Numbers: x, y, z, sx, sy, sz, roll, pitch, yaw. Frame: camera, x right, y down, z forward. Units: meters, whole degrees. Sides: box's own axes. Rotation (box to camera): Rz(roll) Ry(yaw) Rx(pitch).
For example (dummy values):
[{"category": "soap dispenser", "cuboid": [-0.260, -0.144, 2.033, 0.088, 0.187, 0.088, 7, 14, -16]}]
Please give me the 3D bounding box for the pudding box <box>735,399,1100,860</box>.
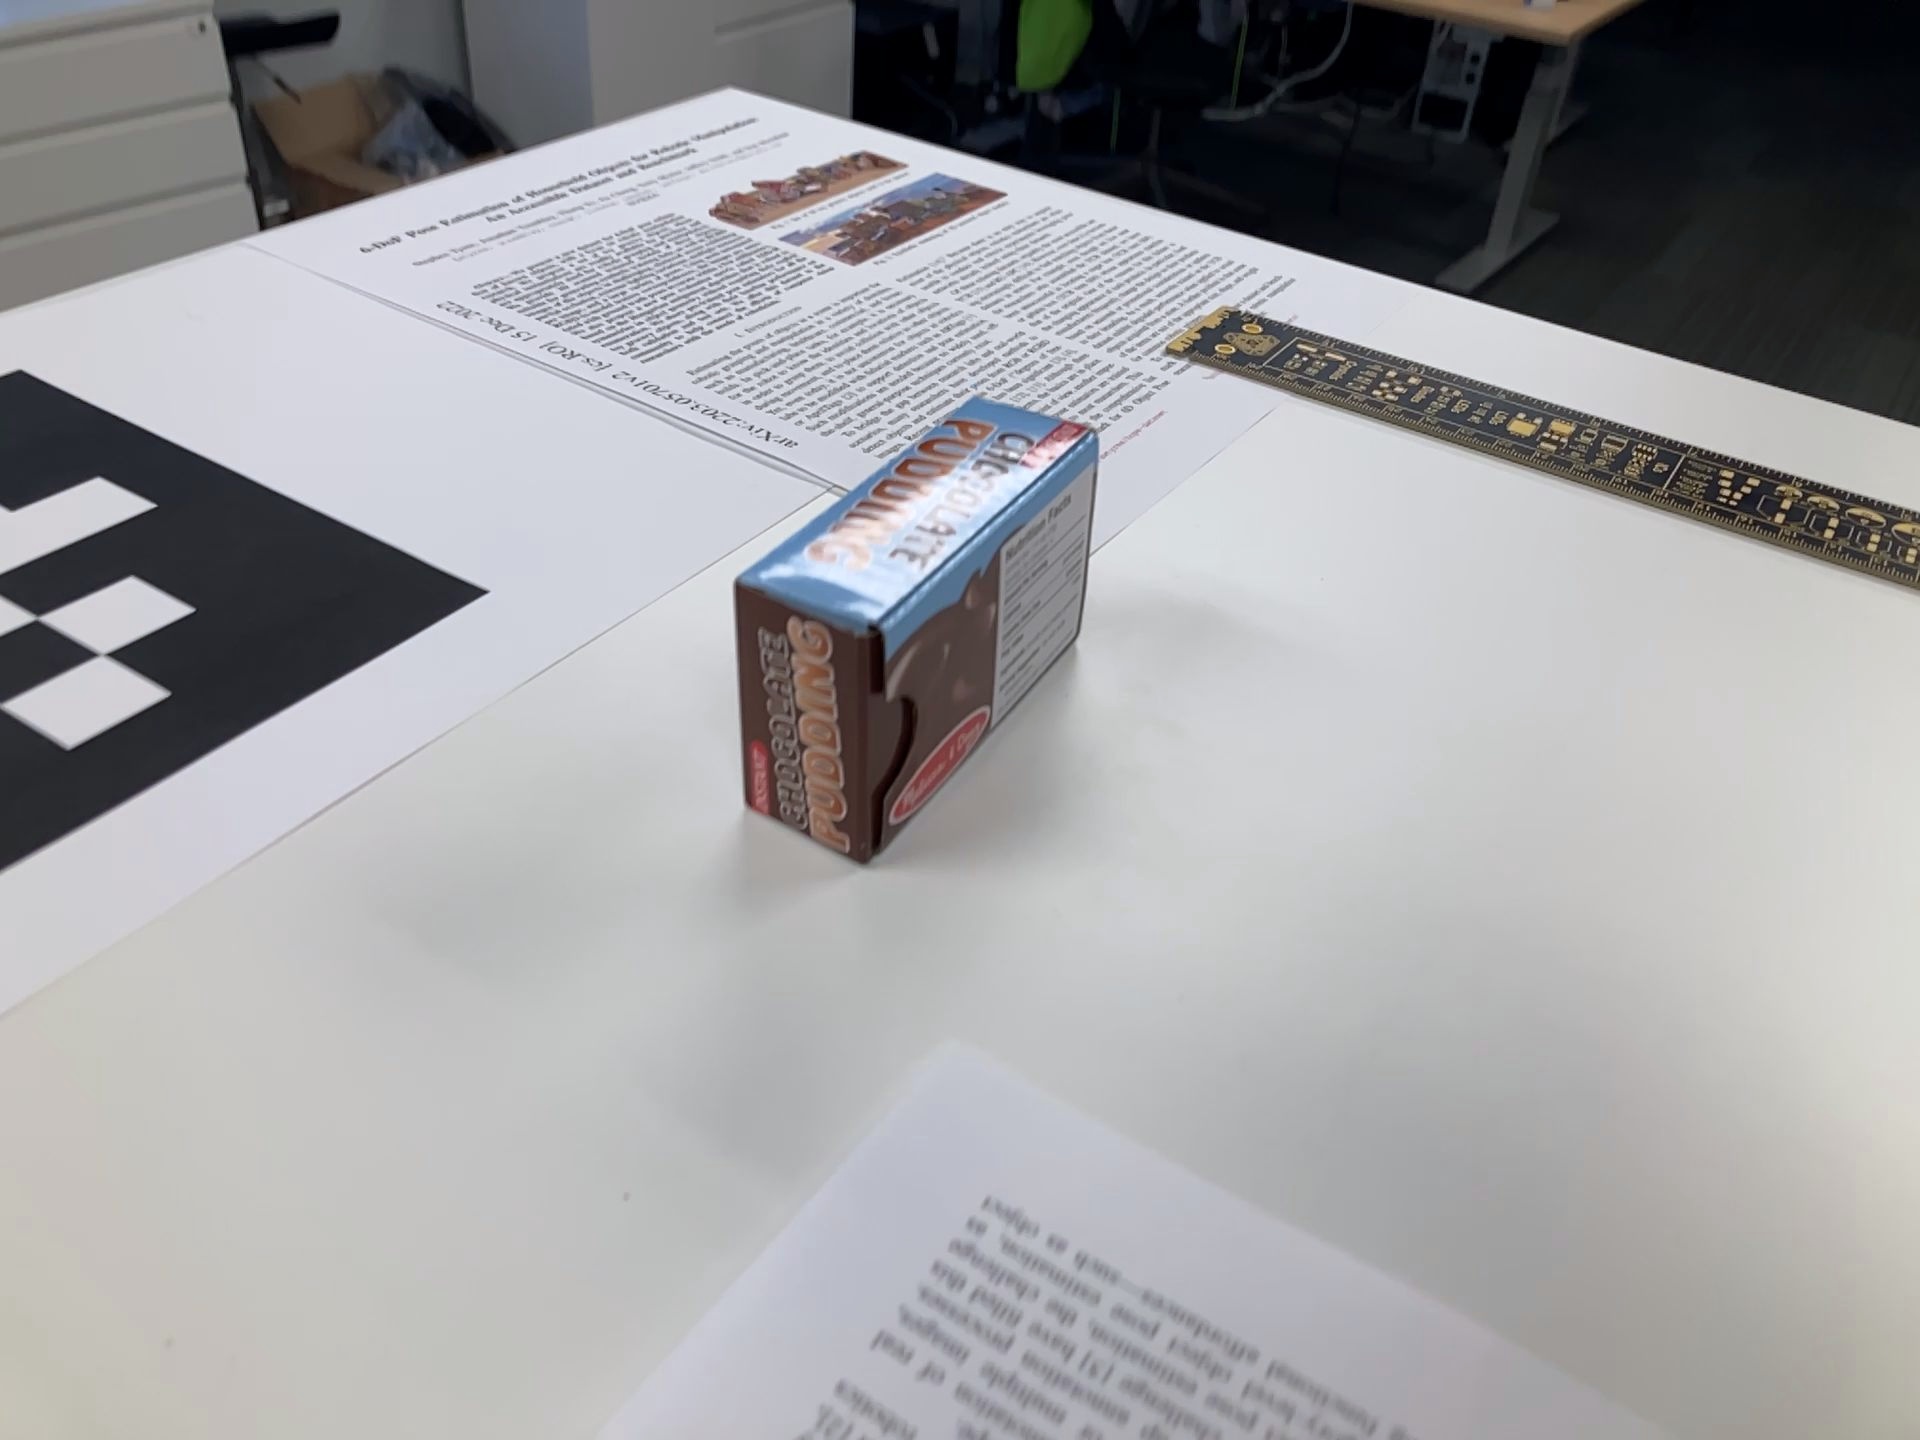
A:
[{"category": "pudding box", "cuboid": [-0.005, -0.020, 0.291, 0.030, 0.049, 0.083, 20, 41, 22]}]
